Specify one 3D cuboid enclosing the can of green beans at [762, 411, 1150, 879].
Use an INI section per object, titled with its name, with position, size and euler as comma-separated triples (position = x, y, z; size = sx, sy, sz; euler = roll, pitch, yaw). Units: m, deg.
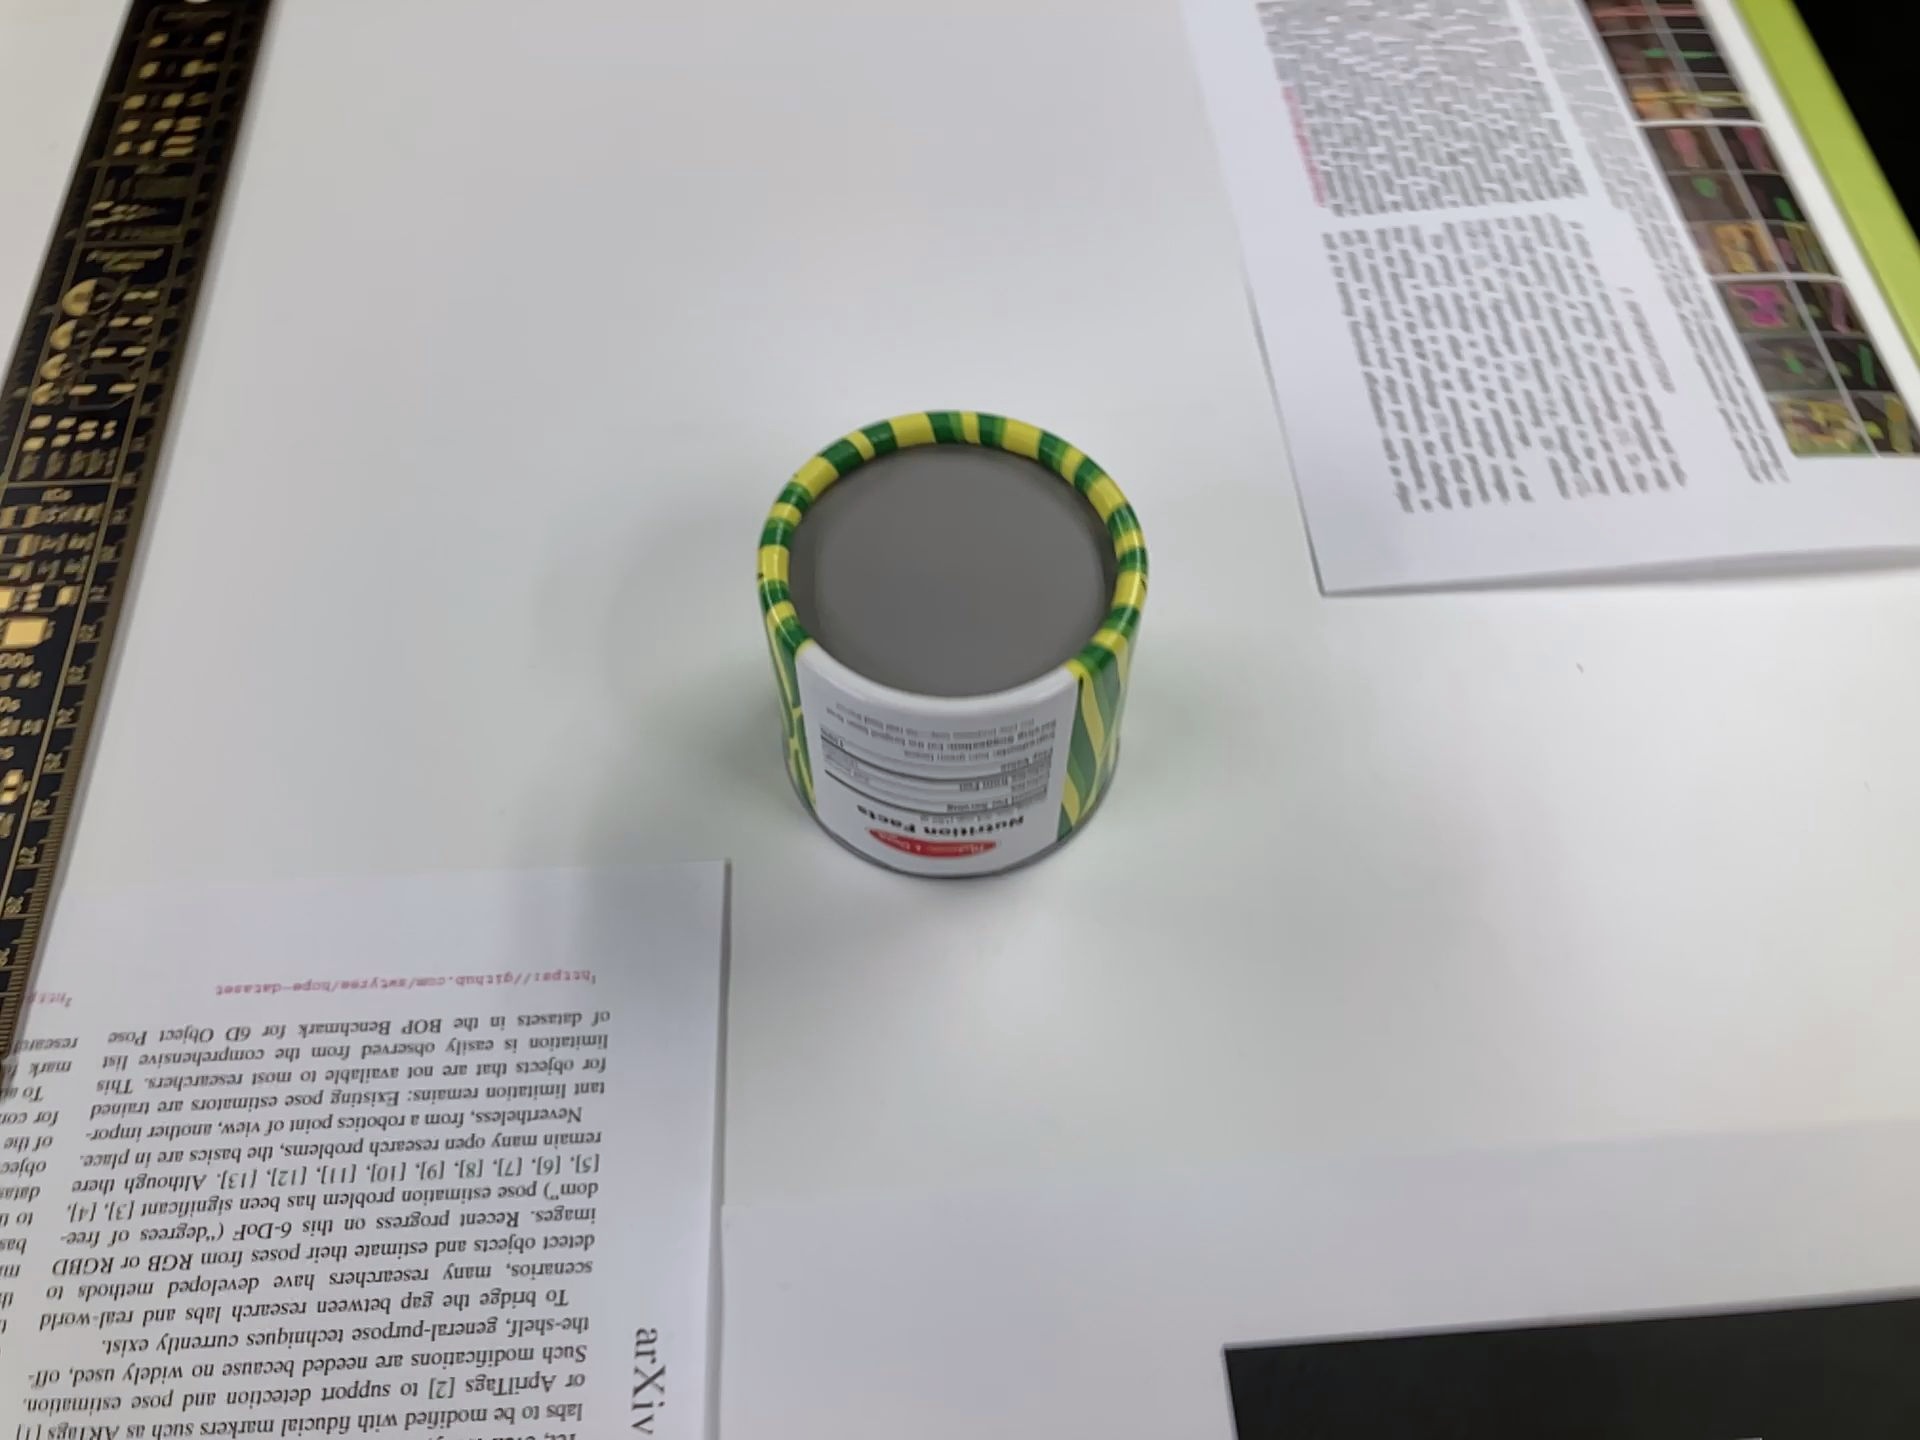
[can of green beans]
position = -0.001, -0.013, 0.292
size = 0.071, 0.058, 0.071
euler = 0, 58, 0
